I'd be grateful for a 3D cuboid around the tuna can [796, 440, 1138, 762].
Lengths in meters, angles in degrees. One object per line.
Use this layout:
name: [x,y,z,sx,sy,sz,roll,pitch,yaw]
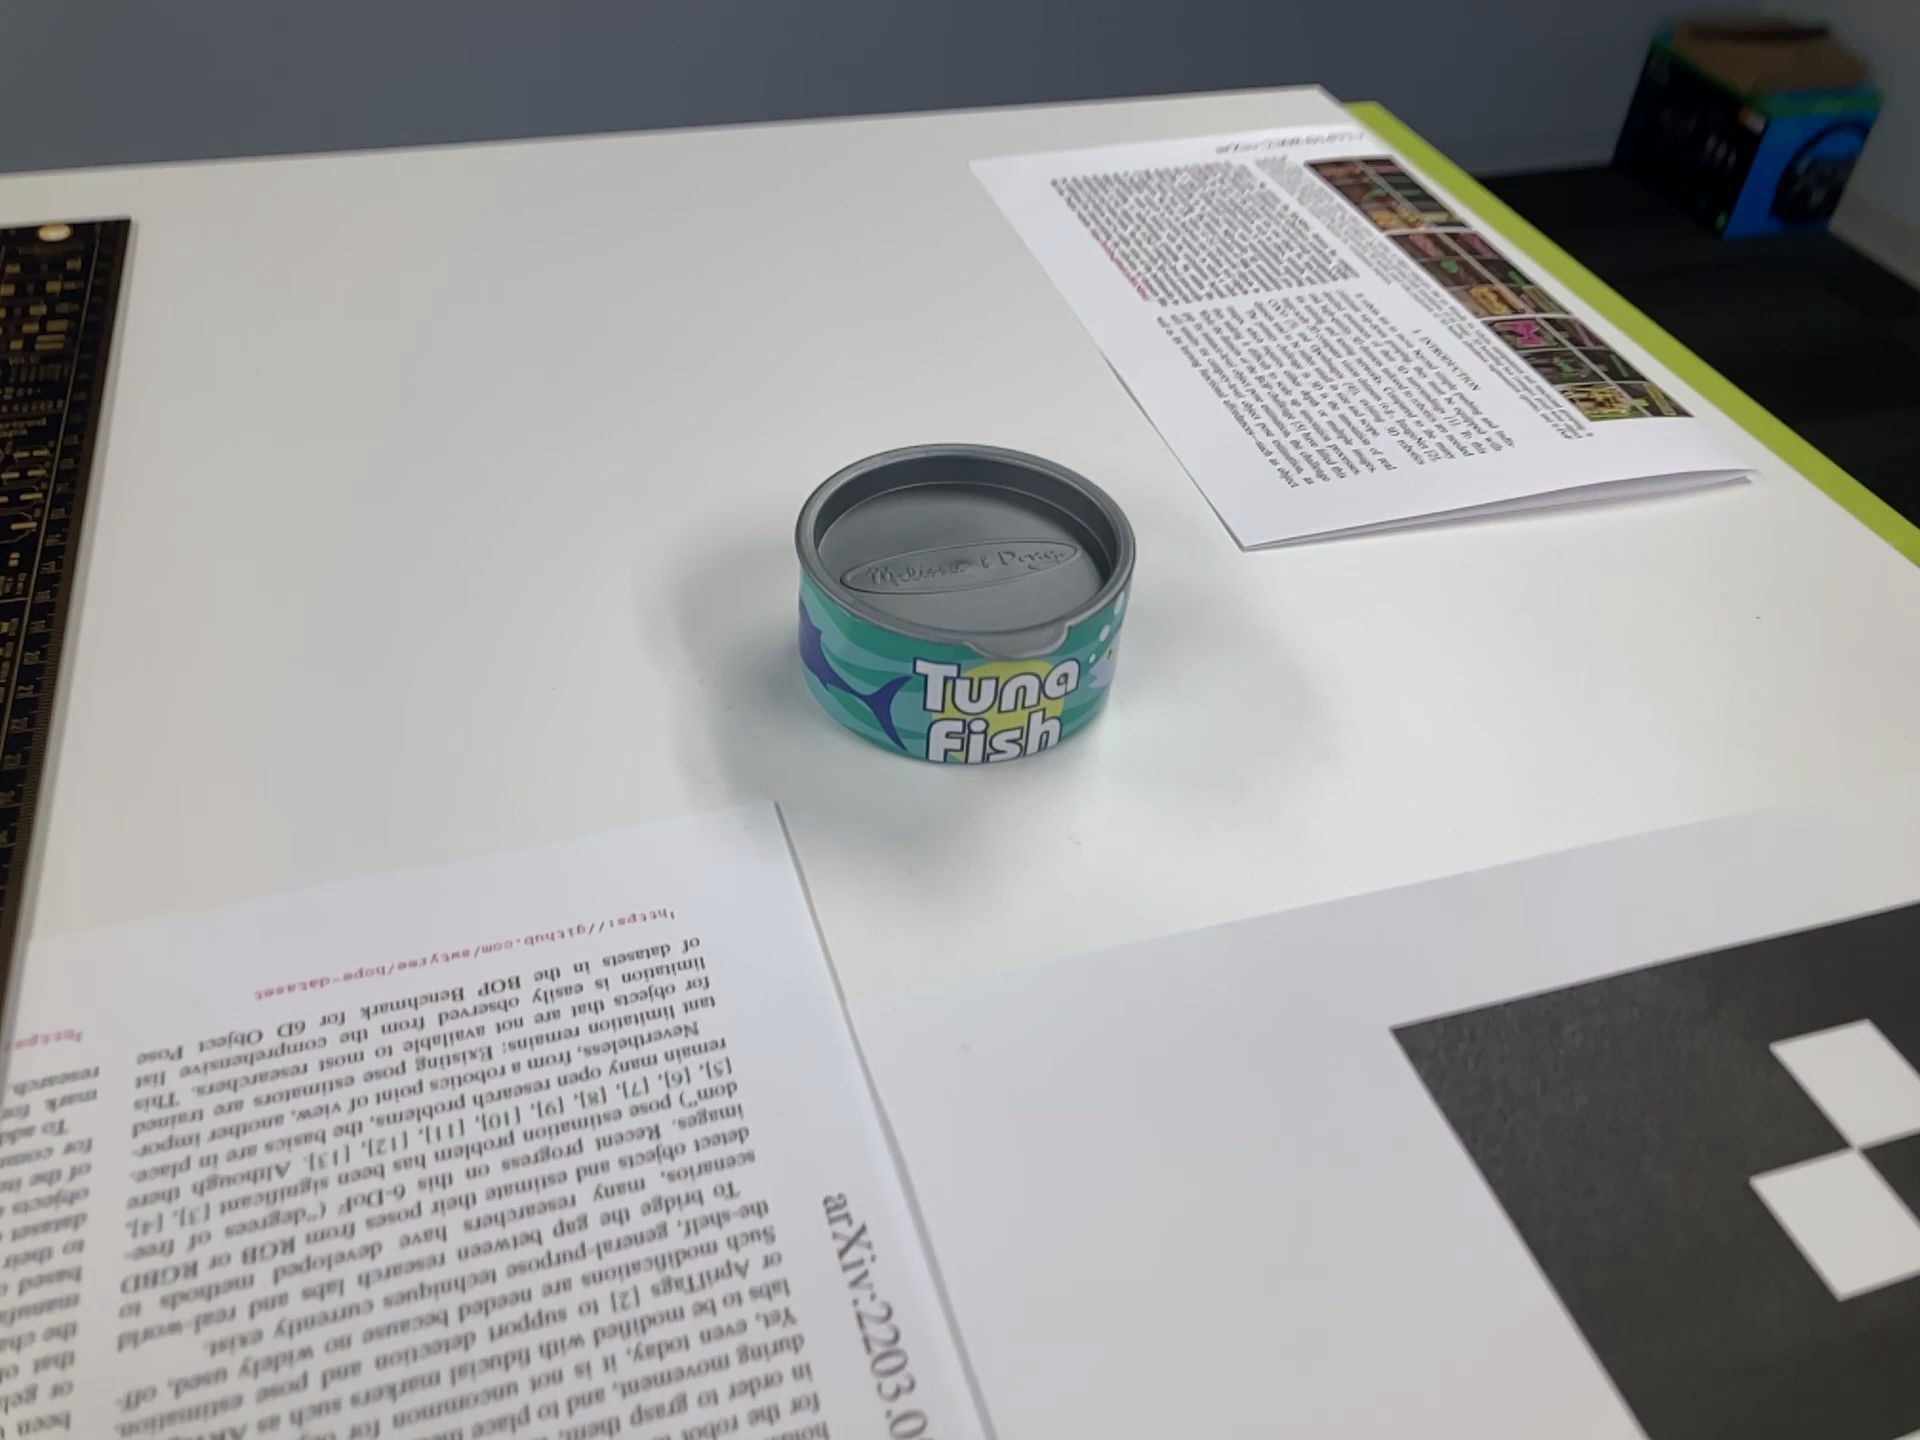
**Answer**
tuna can: [0.001,-0.023,0.314,0.071,0.033,0.071,3,42,-3]
